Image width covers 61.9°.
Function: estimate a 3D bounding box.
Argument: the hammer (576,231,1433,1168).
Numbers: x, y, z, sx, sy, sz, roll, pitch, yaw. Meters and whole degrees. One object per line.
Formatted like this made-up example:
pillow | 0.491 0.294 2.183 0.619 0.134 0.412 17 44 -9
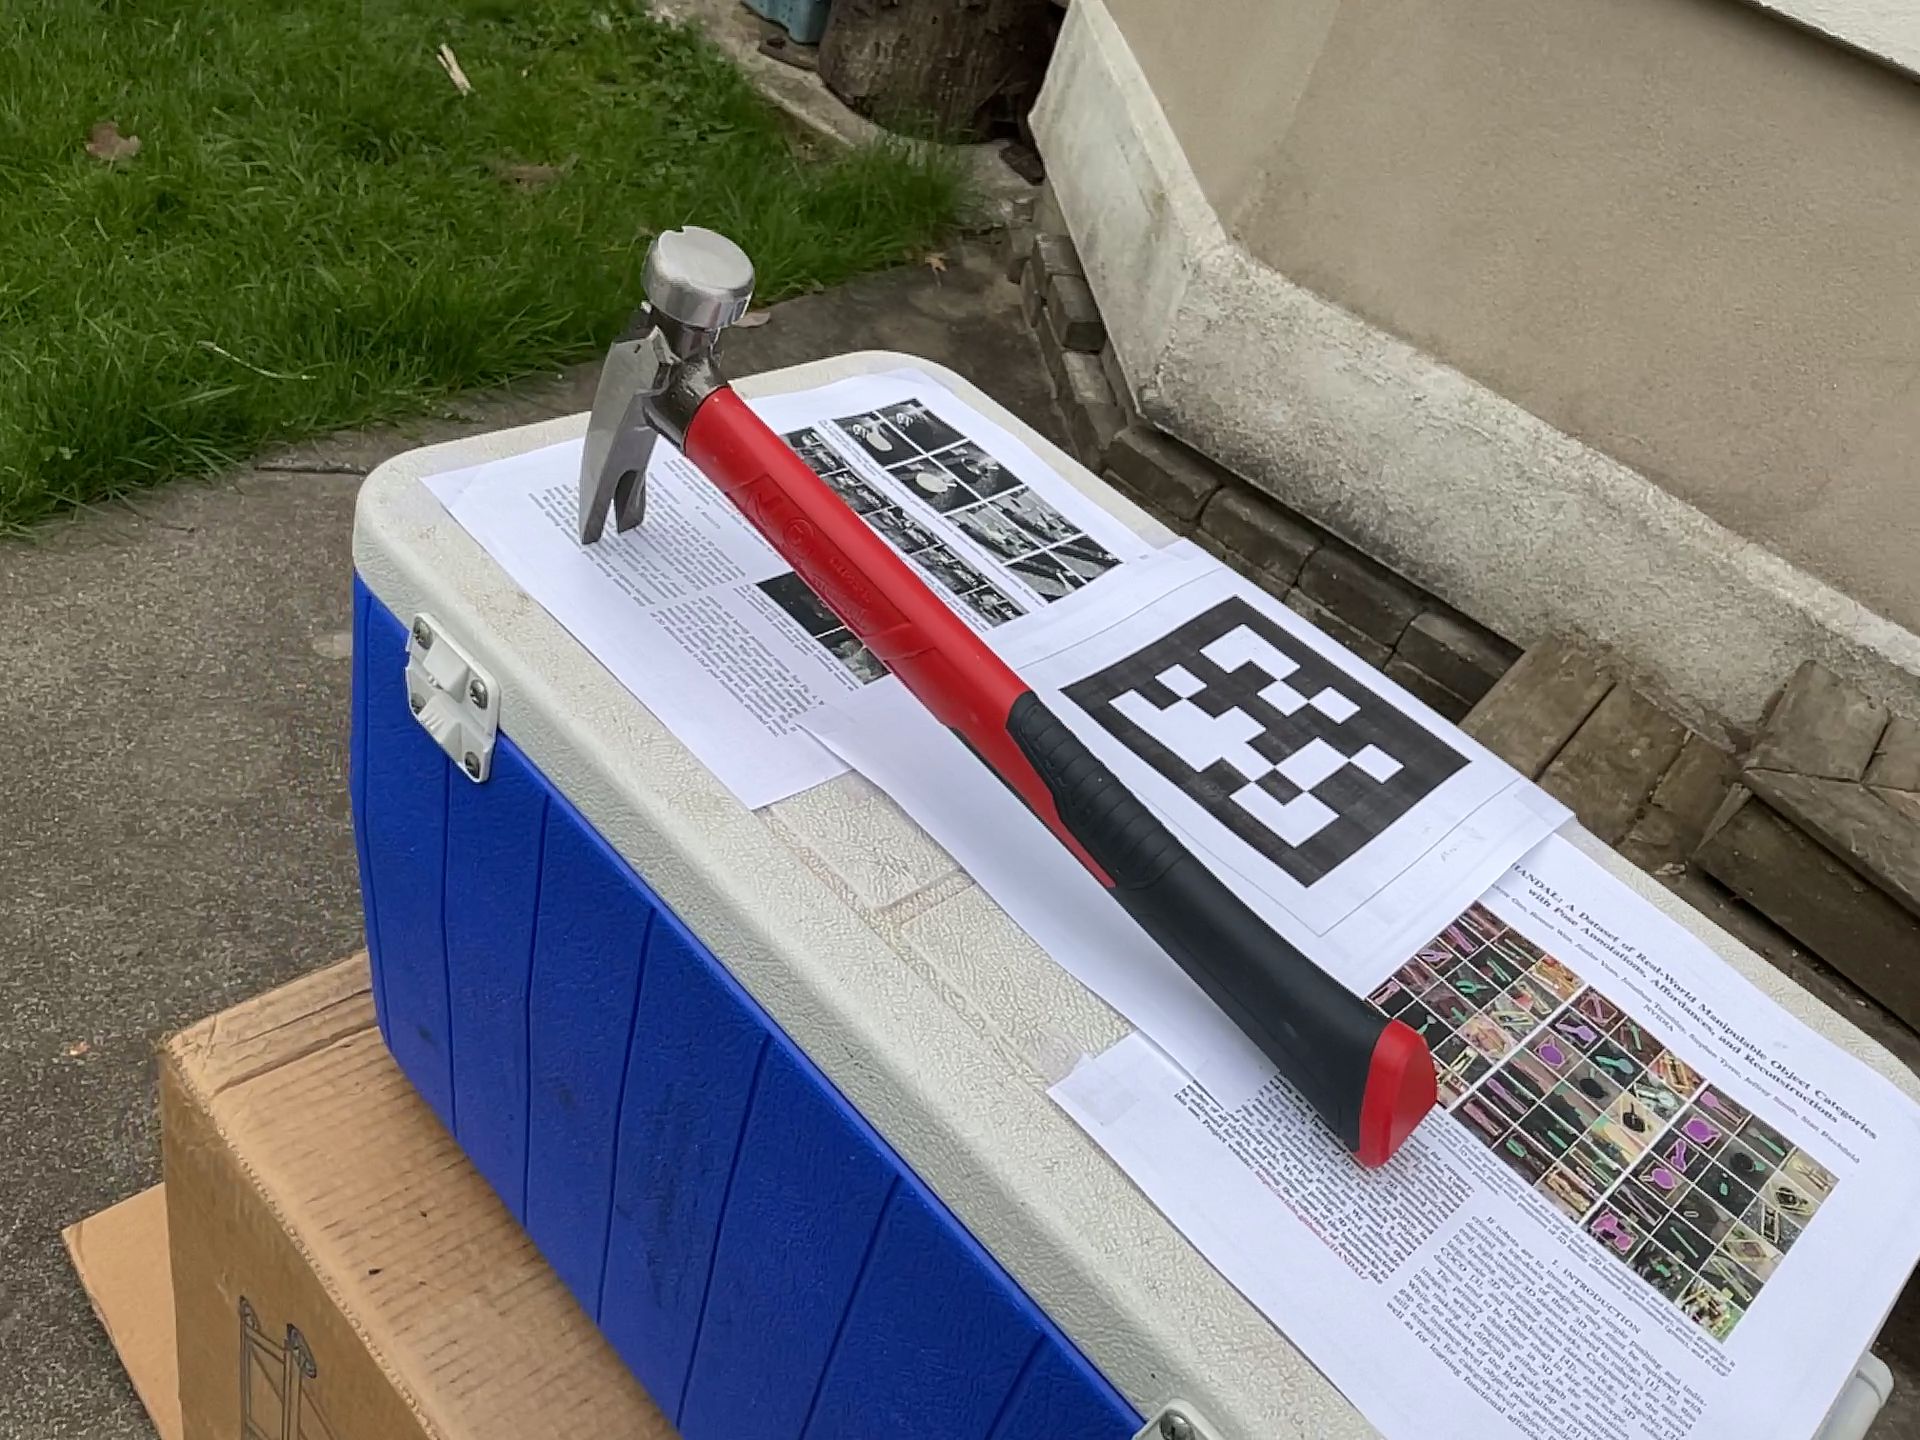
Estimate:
hammer | 0.002 0.005 0.559 0.386 0.143 0.038 46 46 15
